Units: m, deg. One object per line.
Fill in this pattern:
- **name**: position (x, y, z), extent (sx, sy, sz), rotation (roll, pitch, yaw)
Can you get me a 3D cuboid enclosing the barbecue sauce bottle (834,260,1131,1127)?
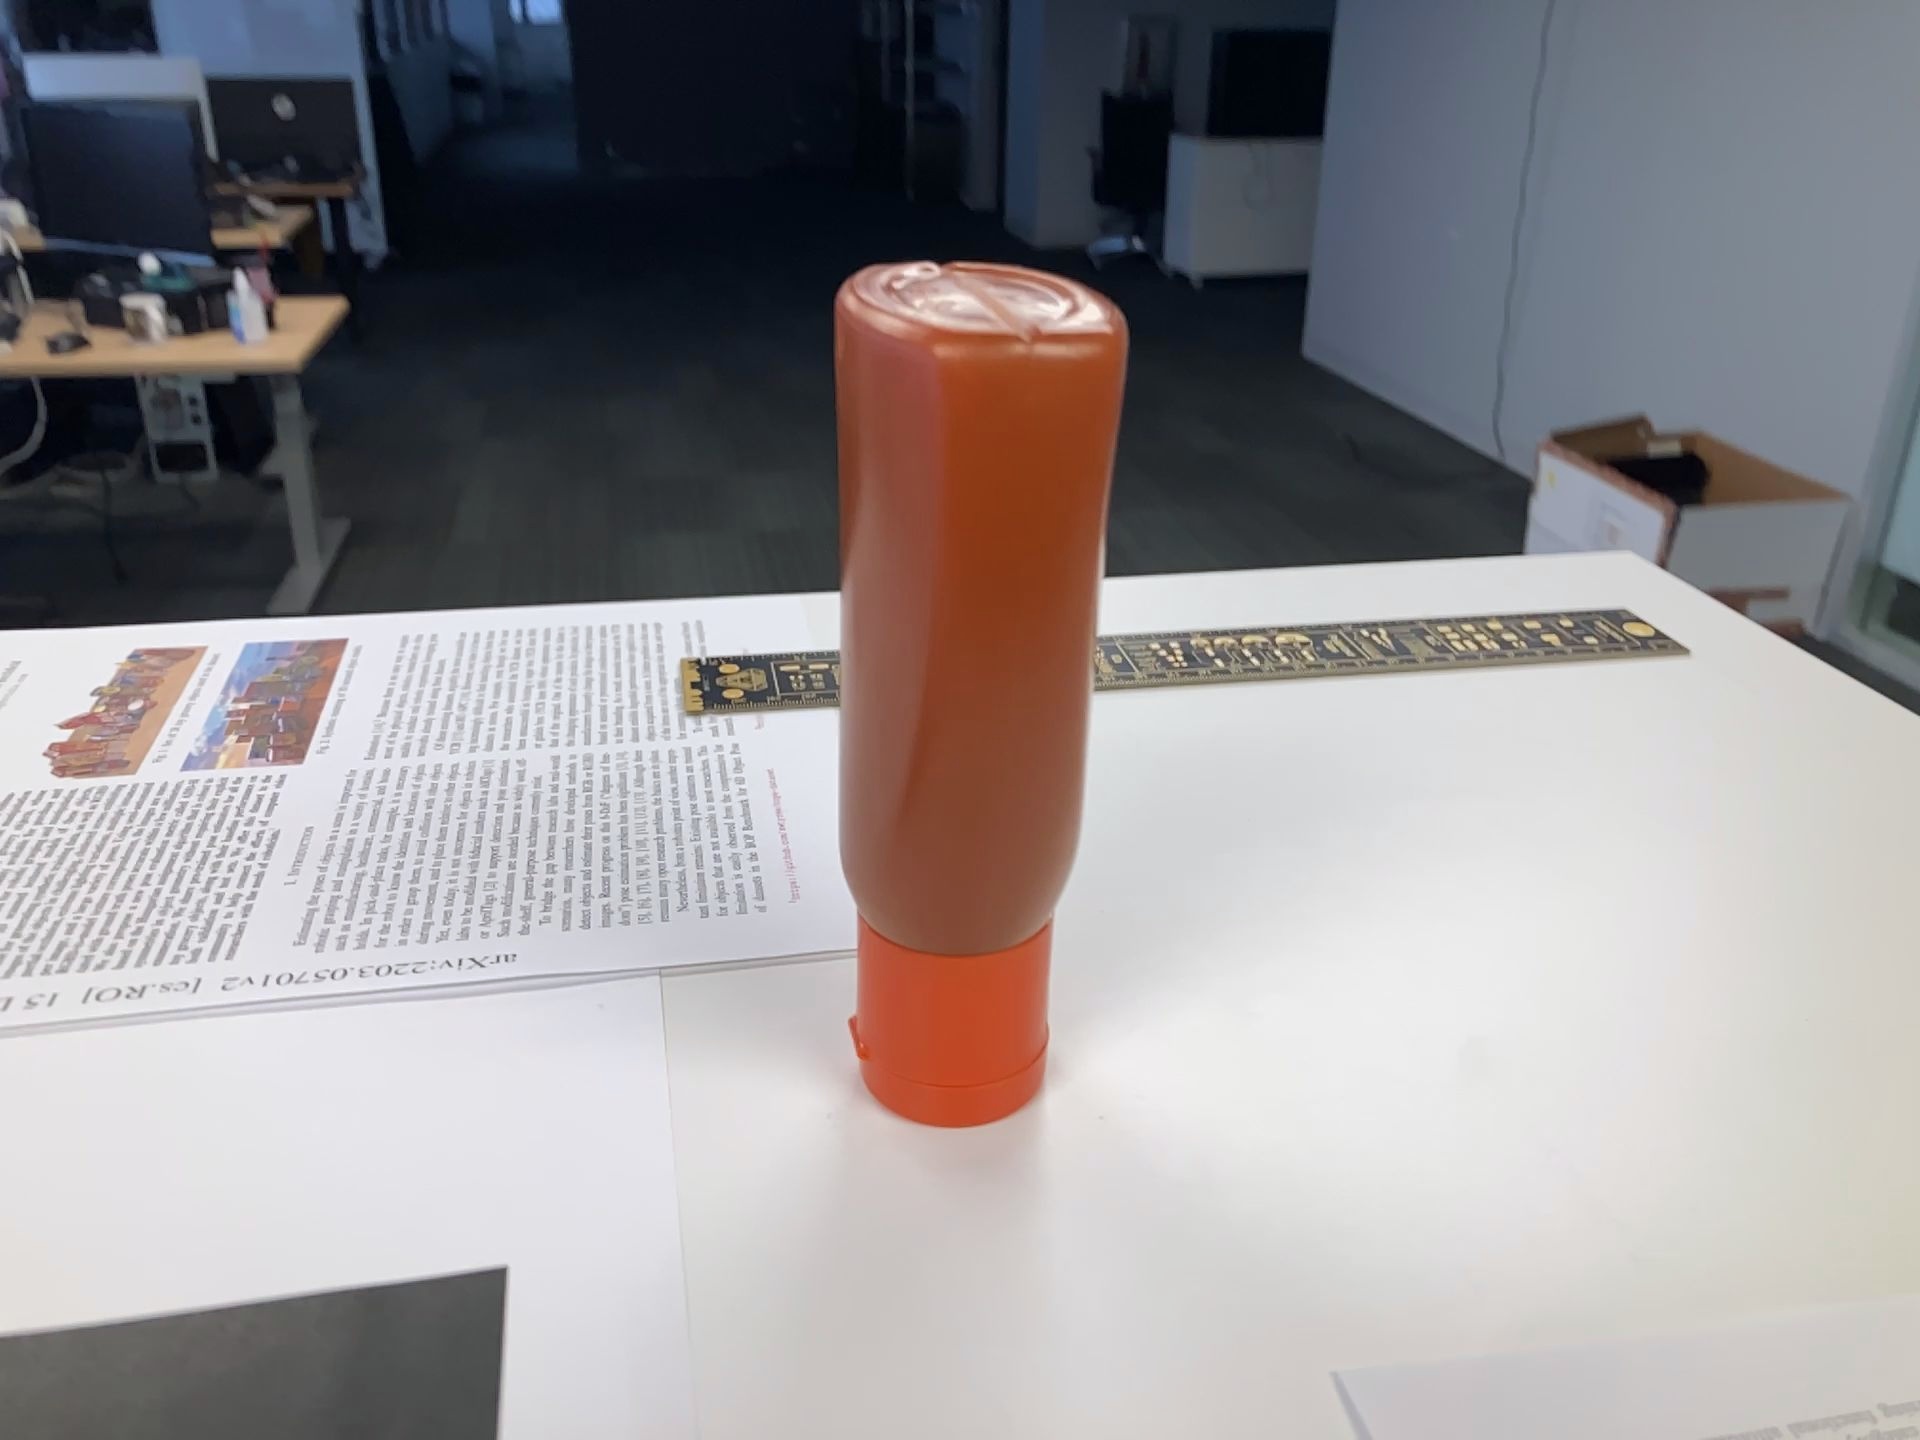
- **barbecue sauce bottle**: position (0.000, 0.000, 0.275), extent (0.043, 0.148, 0.065), rotation (-4, 25, -13)
